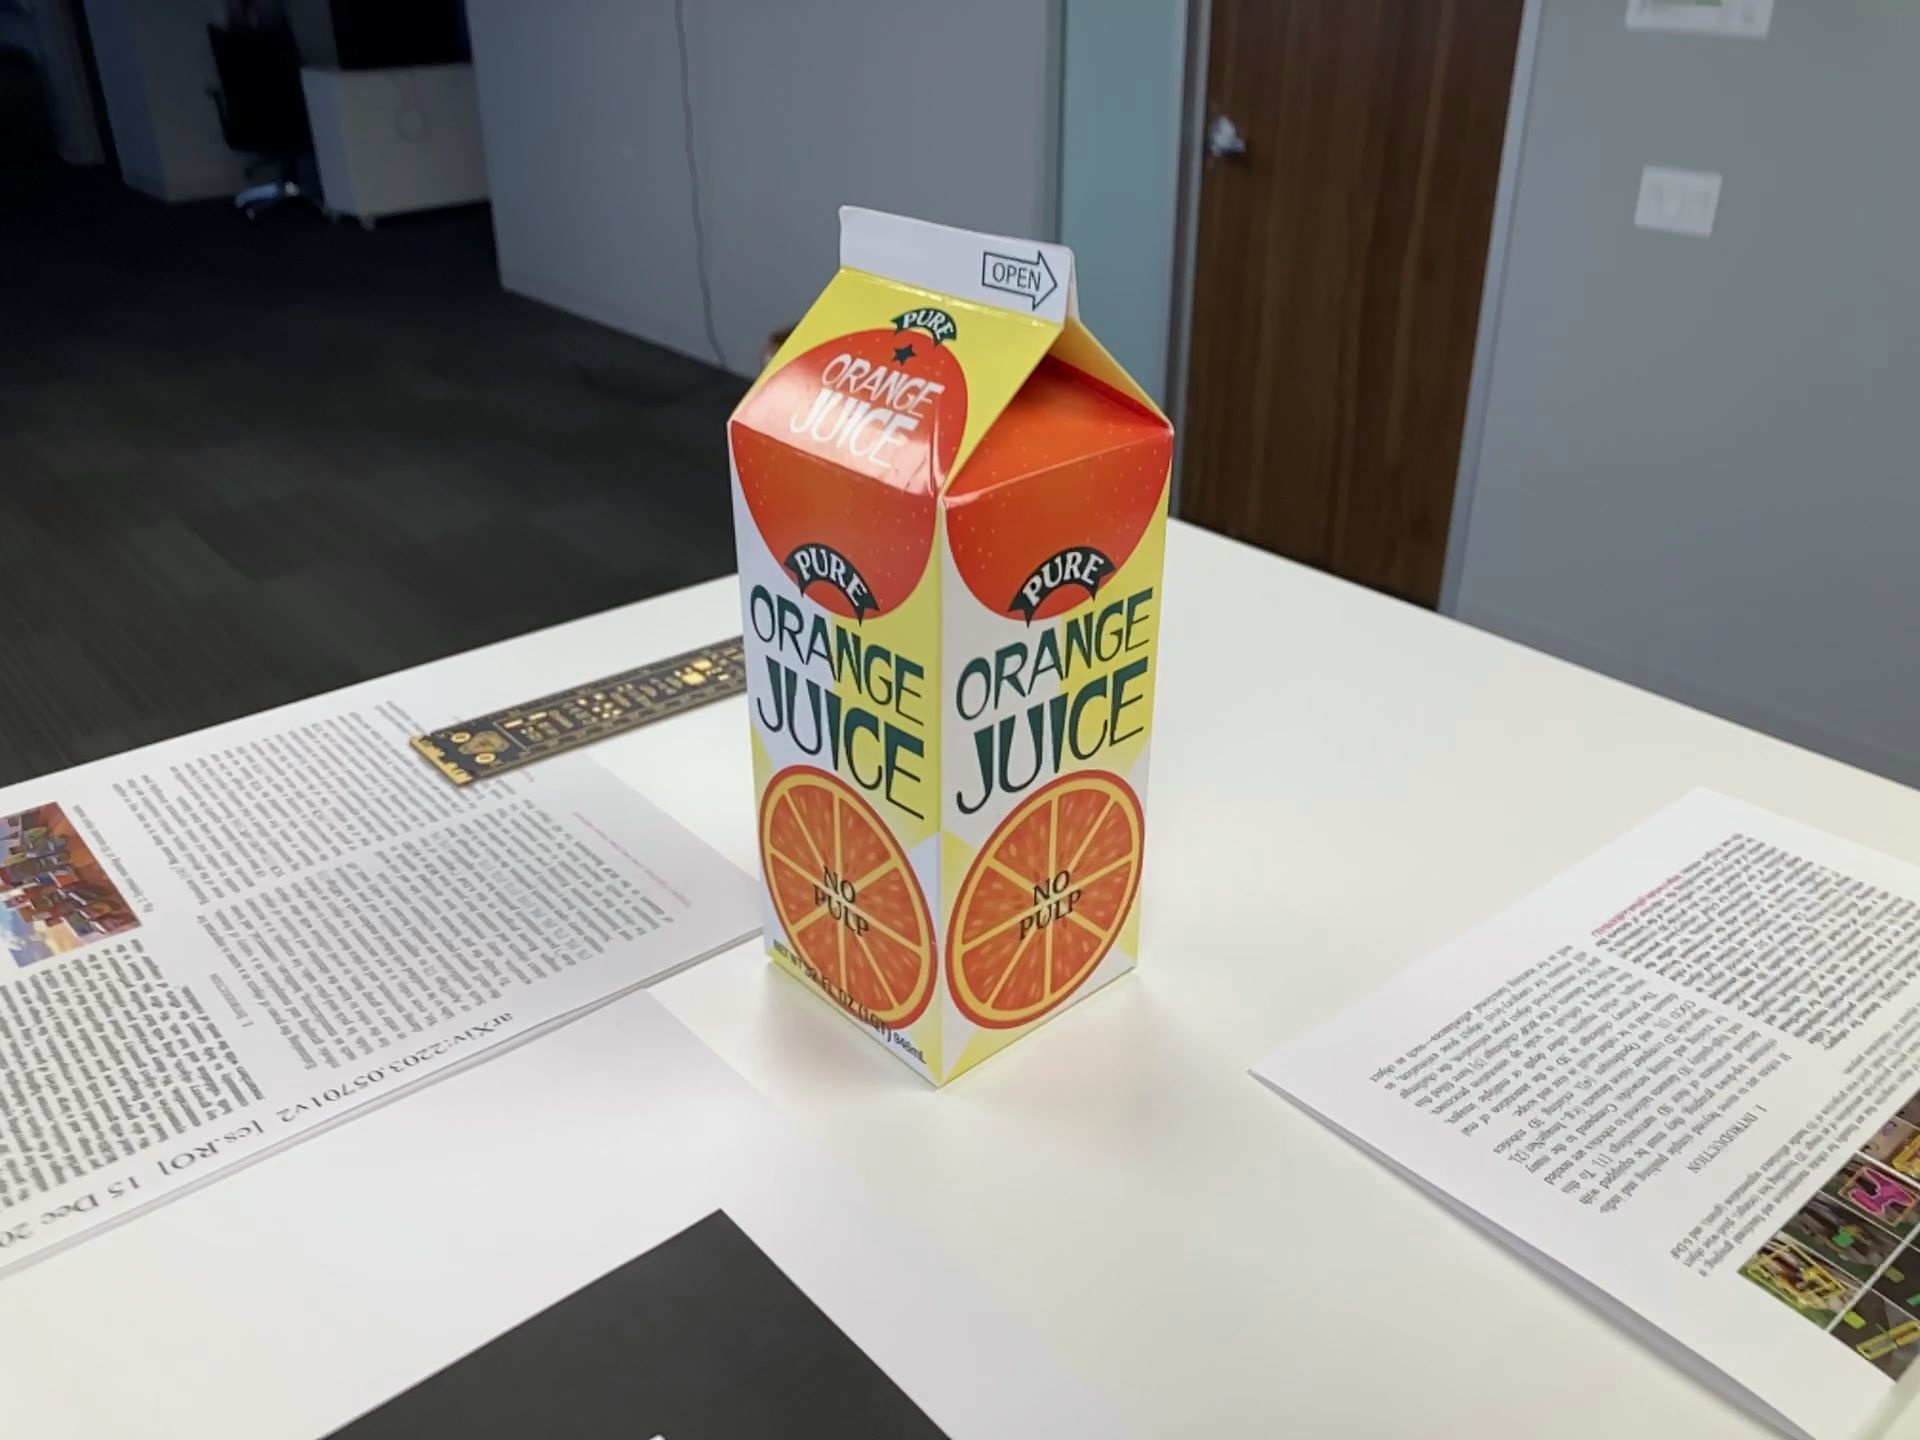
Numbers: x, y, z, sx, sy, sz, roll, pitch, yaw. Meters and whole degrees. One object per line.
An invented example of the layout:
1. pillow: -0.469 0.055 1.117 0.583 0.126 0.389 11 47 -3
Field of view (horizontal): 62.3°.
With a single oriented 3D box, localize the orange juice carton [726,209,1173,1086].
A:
1. orange juice carton: -0.002 -0.018 0.377 0.073 0.192 0.072 -24 36 -36
